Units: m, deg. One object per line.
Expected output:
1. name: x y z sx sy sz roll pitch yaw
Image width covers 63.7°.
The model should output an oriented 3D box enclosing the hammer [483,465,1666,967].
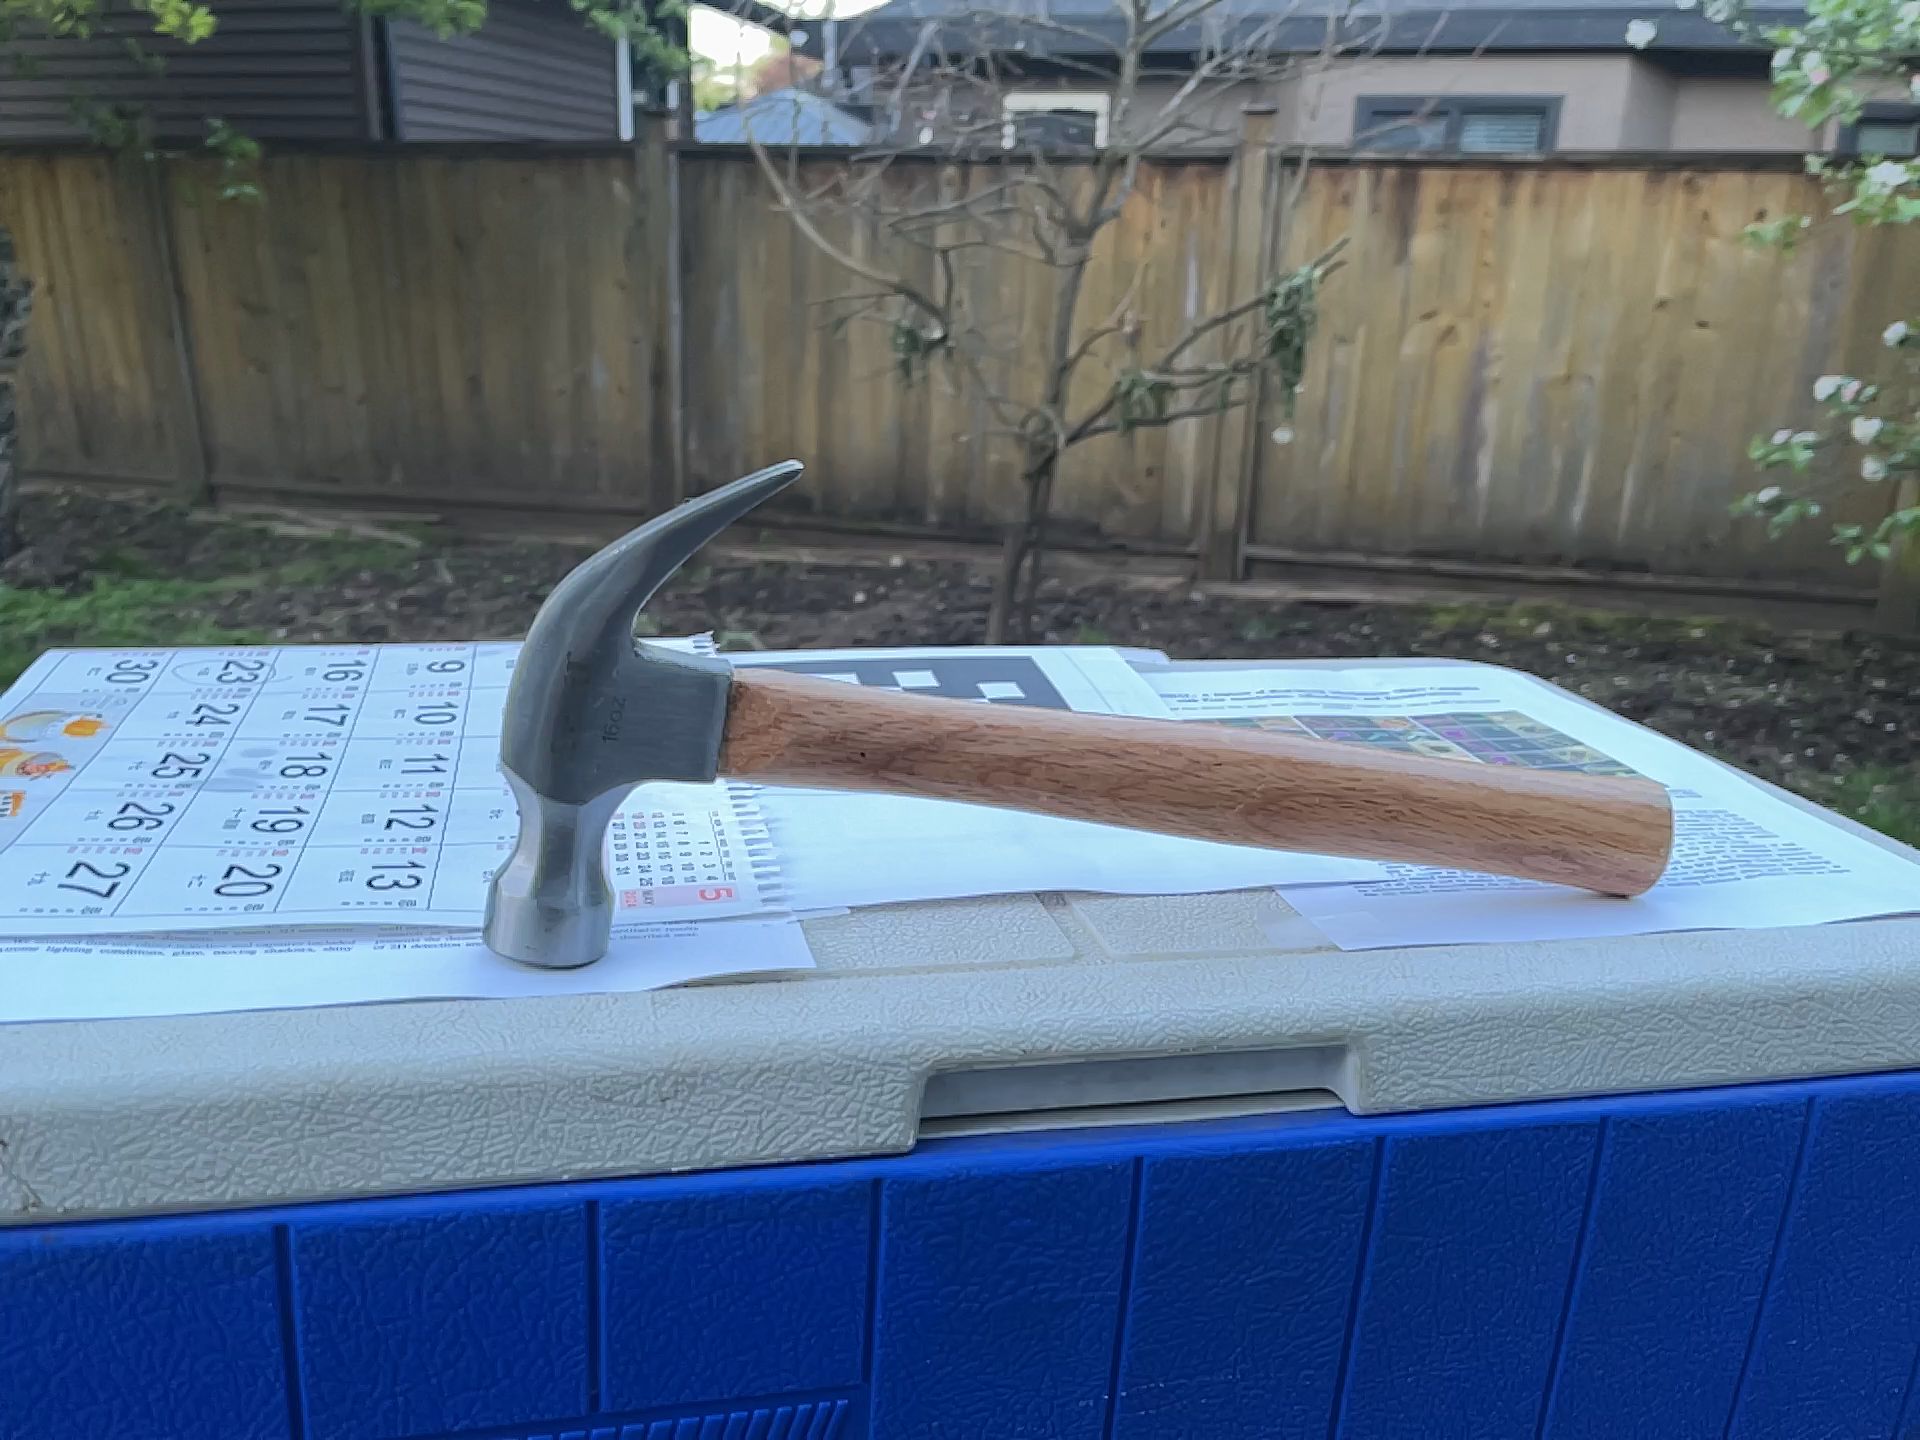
1. hammer: 0.048 0.013 0.422 0.331 0.130 0.031 8 10 -16
